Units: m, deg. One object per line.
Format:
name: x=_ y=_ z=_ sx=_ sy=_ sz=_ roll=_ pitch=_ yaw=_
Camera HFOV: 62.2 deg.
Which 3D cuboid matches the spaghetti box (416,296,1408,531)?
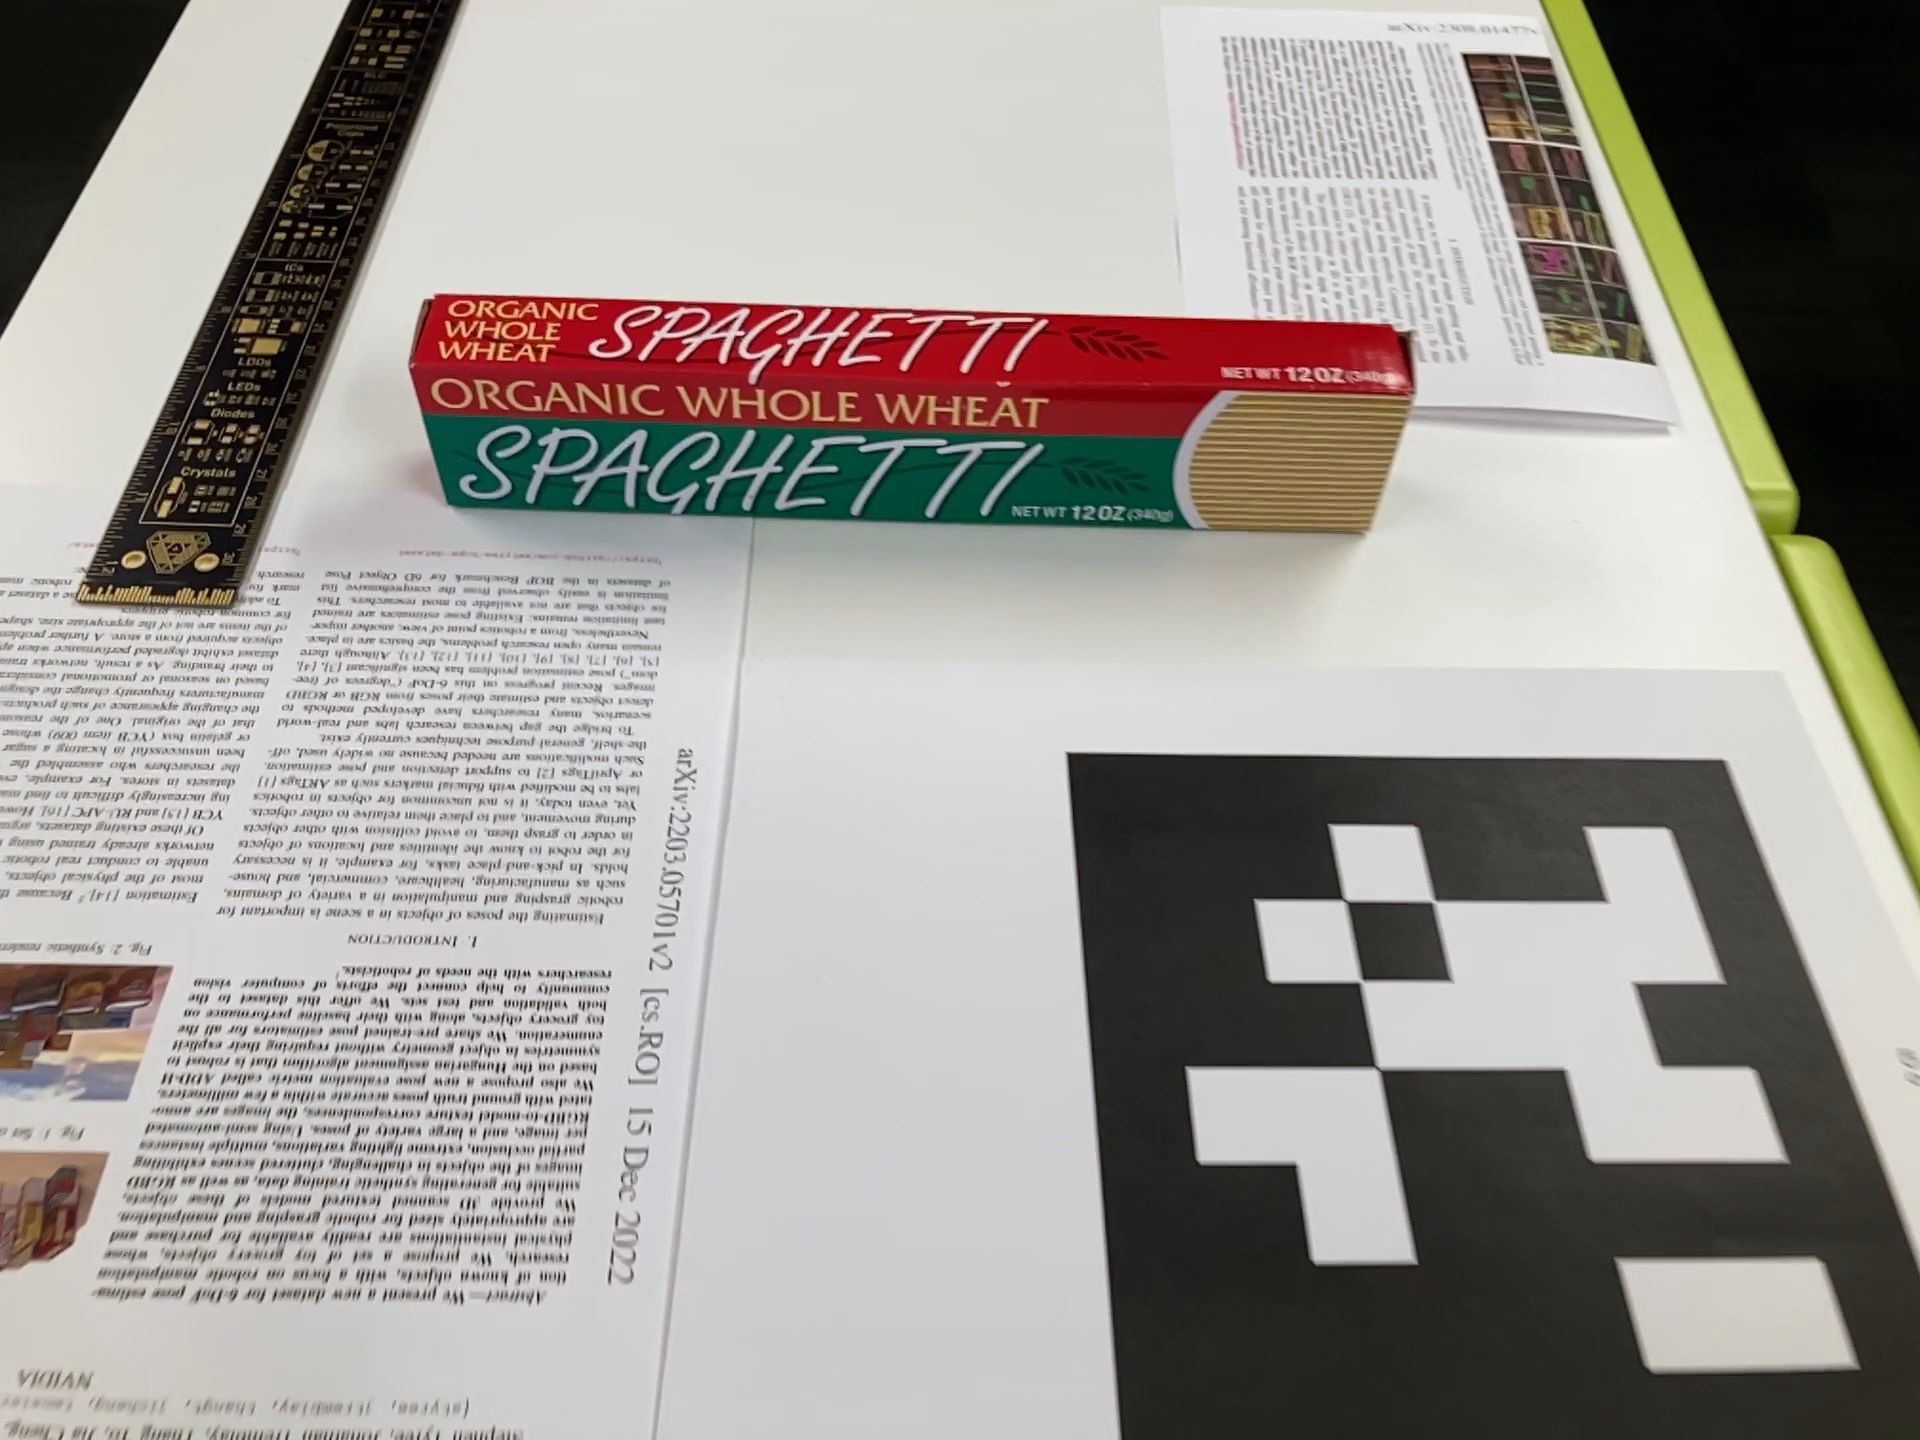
spaghetti box: x=-0.013 y=-0.079 z=0.416 sx=0.250 sy=0.050 sz=0.028 roll=1 pitch=50 yaw=-2
